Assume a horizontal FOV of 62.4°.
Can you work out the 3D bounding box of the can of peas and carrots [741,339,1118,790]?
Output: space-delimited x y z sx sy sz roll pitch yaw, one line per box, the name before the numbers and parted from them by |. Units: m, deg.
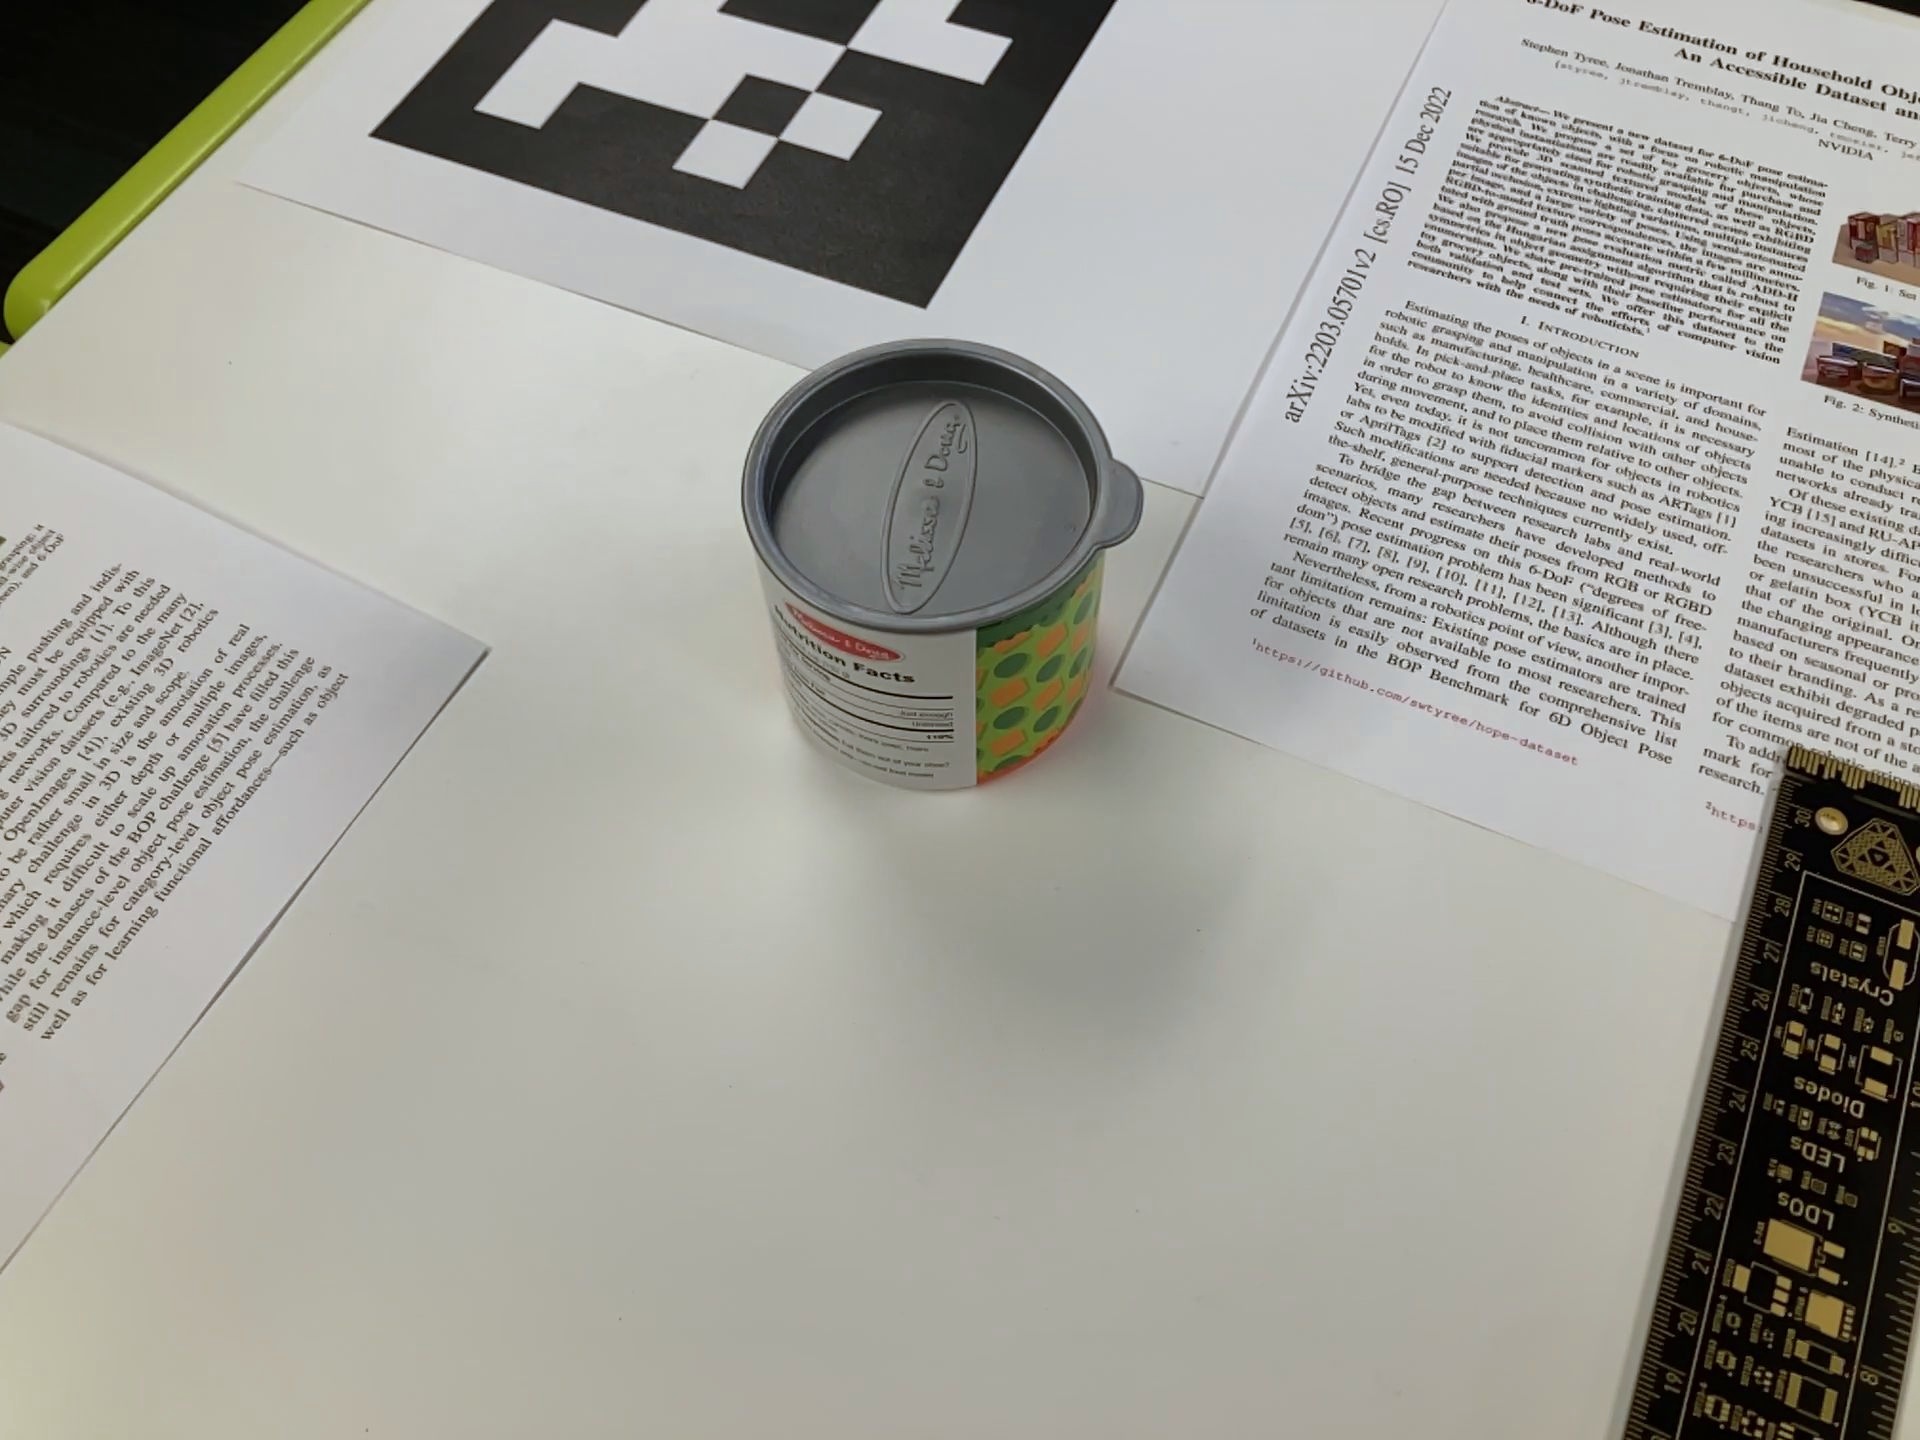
can of peas and carrots | -0.003 -0.030 0.304 0.071 0.059 0.071 -1 59 1
